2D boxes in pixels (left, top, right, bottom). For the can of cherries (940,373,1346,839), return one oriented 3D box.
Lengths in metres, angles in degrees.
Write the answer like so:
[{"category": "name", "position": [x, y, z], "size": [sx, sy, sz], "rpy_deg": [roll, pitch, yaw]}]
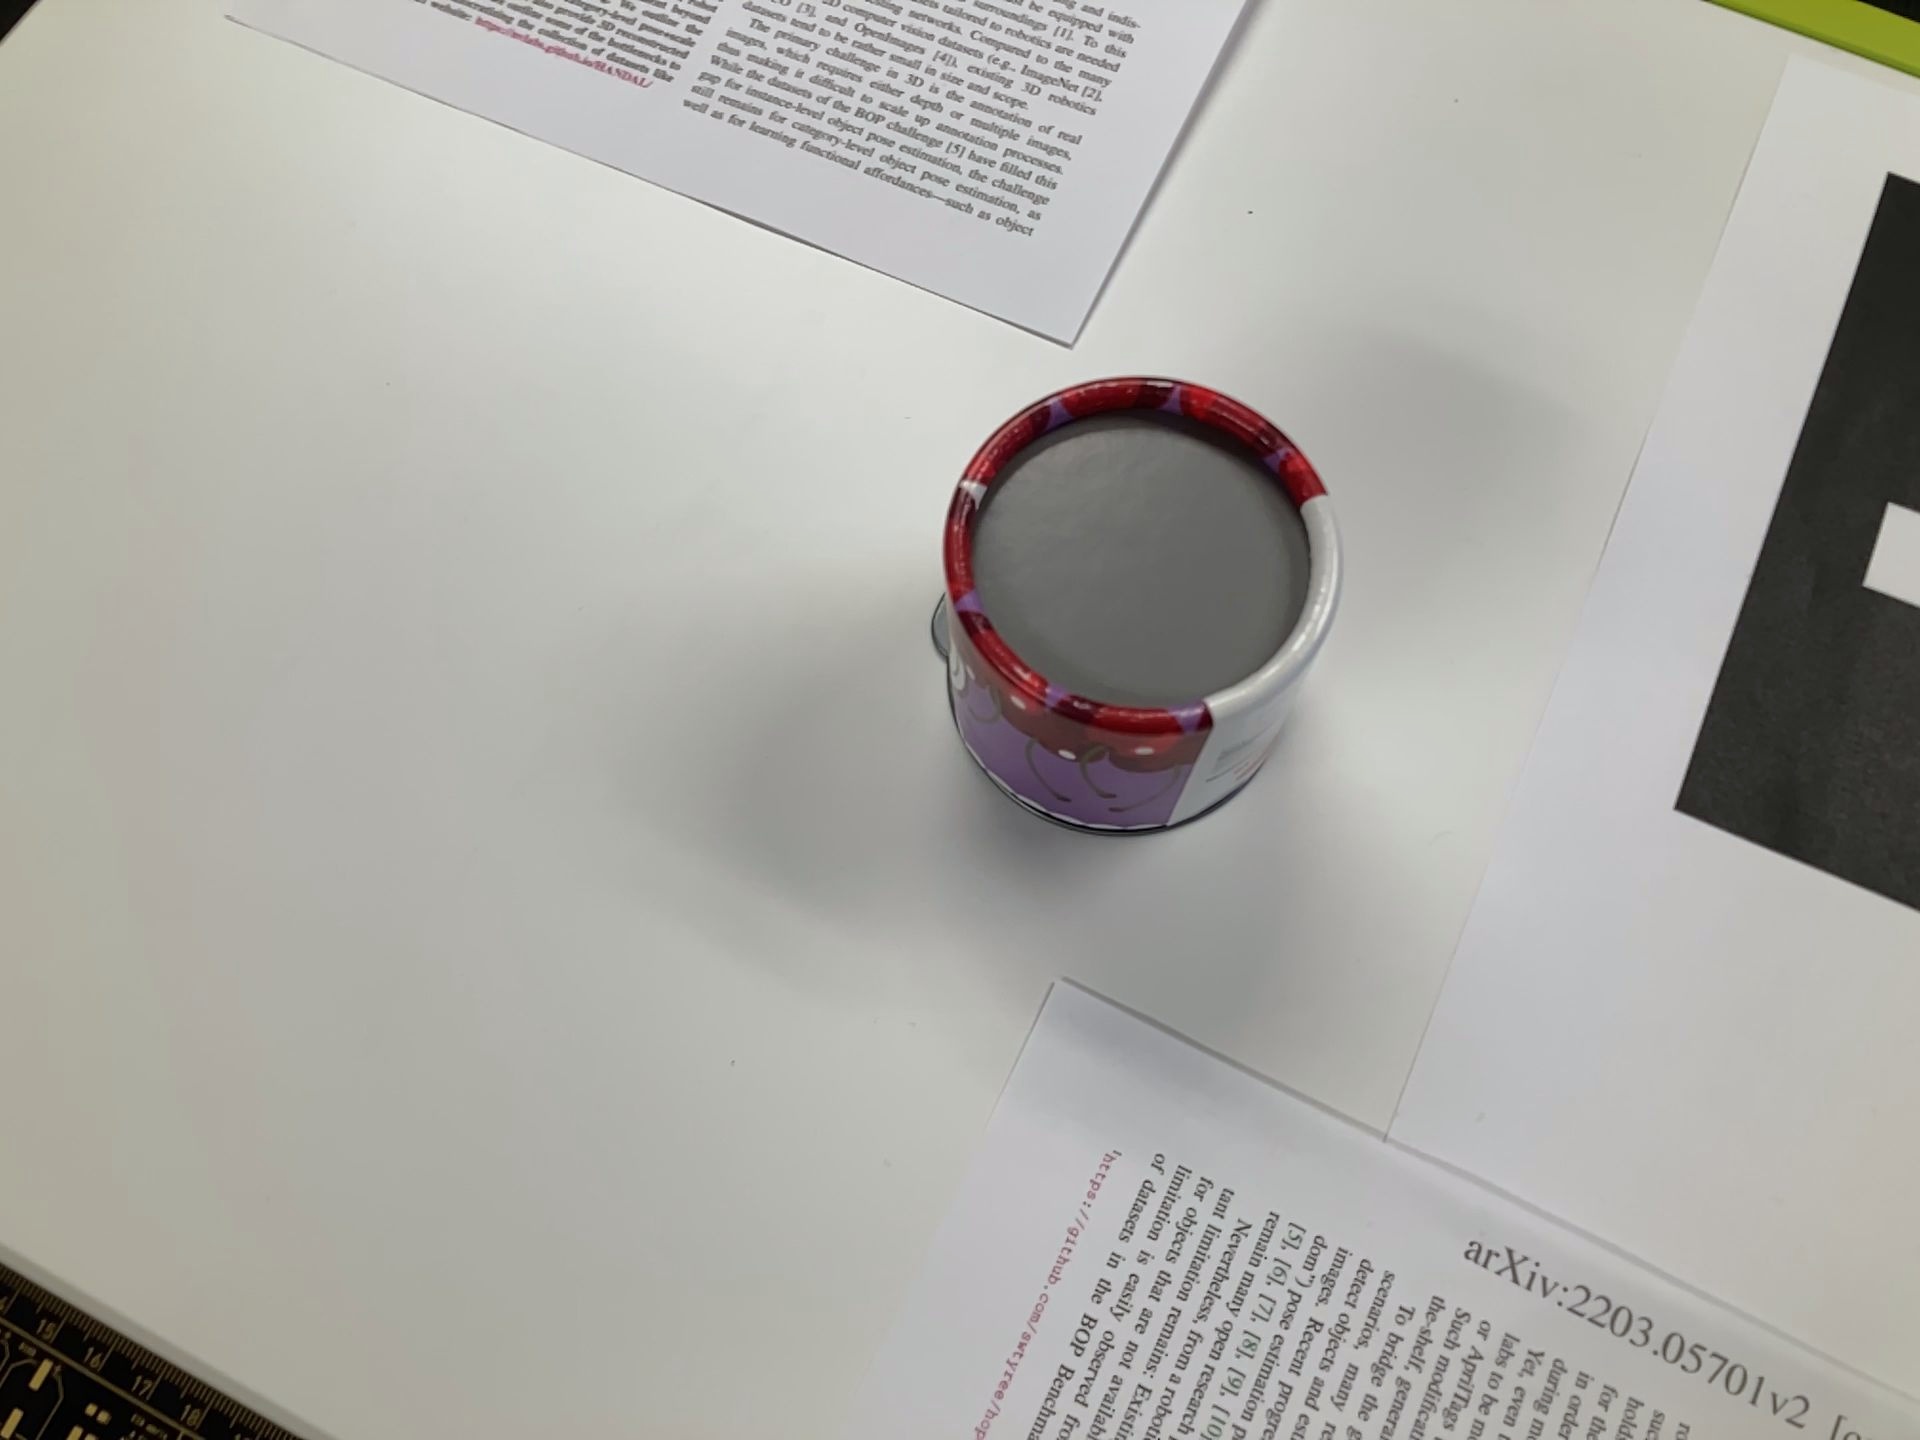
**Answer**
[{"category": "can of cherries", "position": [0.028, -0.020, 0.281], "size": [0.071, 0.058, 0.071], "rpy_deg": [-1, 70, 2]}]
